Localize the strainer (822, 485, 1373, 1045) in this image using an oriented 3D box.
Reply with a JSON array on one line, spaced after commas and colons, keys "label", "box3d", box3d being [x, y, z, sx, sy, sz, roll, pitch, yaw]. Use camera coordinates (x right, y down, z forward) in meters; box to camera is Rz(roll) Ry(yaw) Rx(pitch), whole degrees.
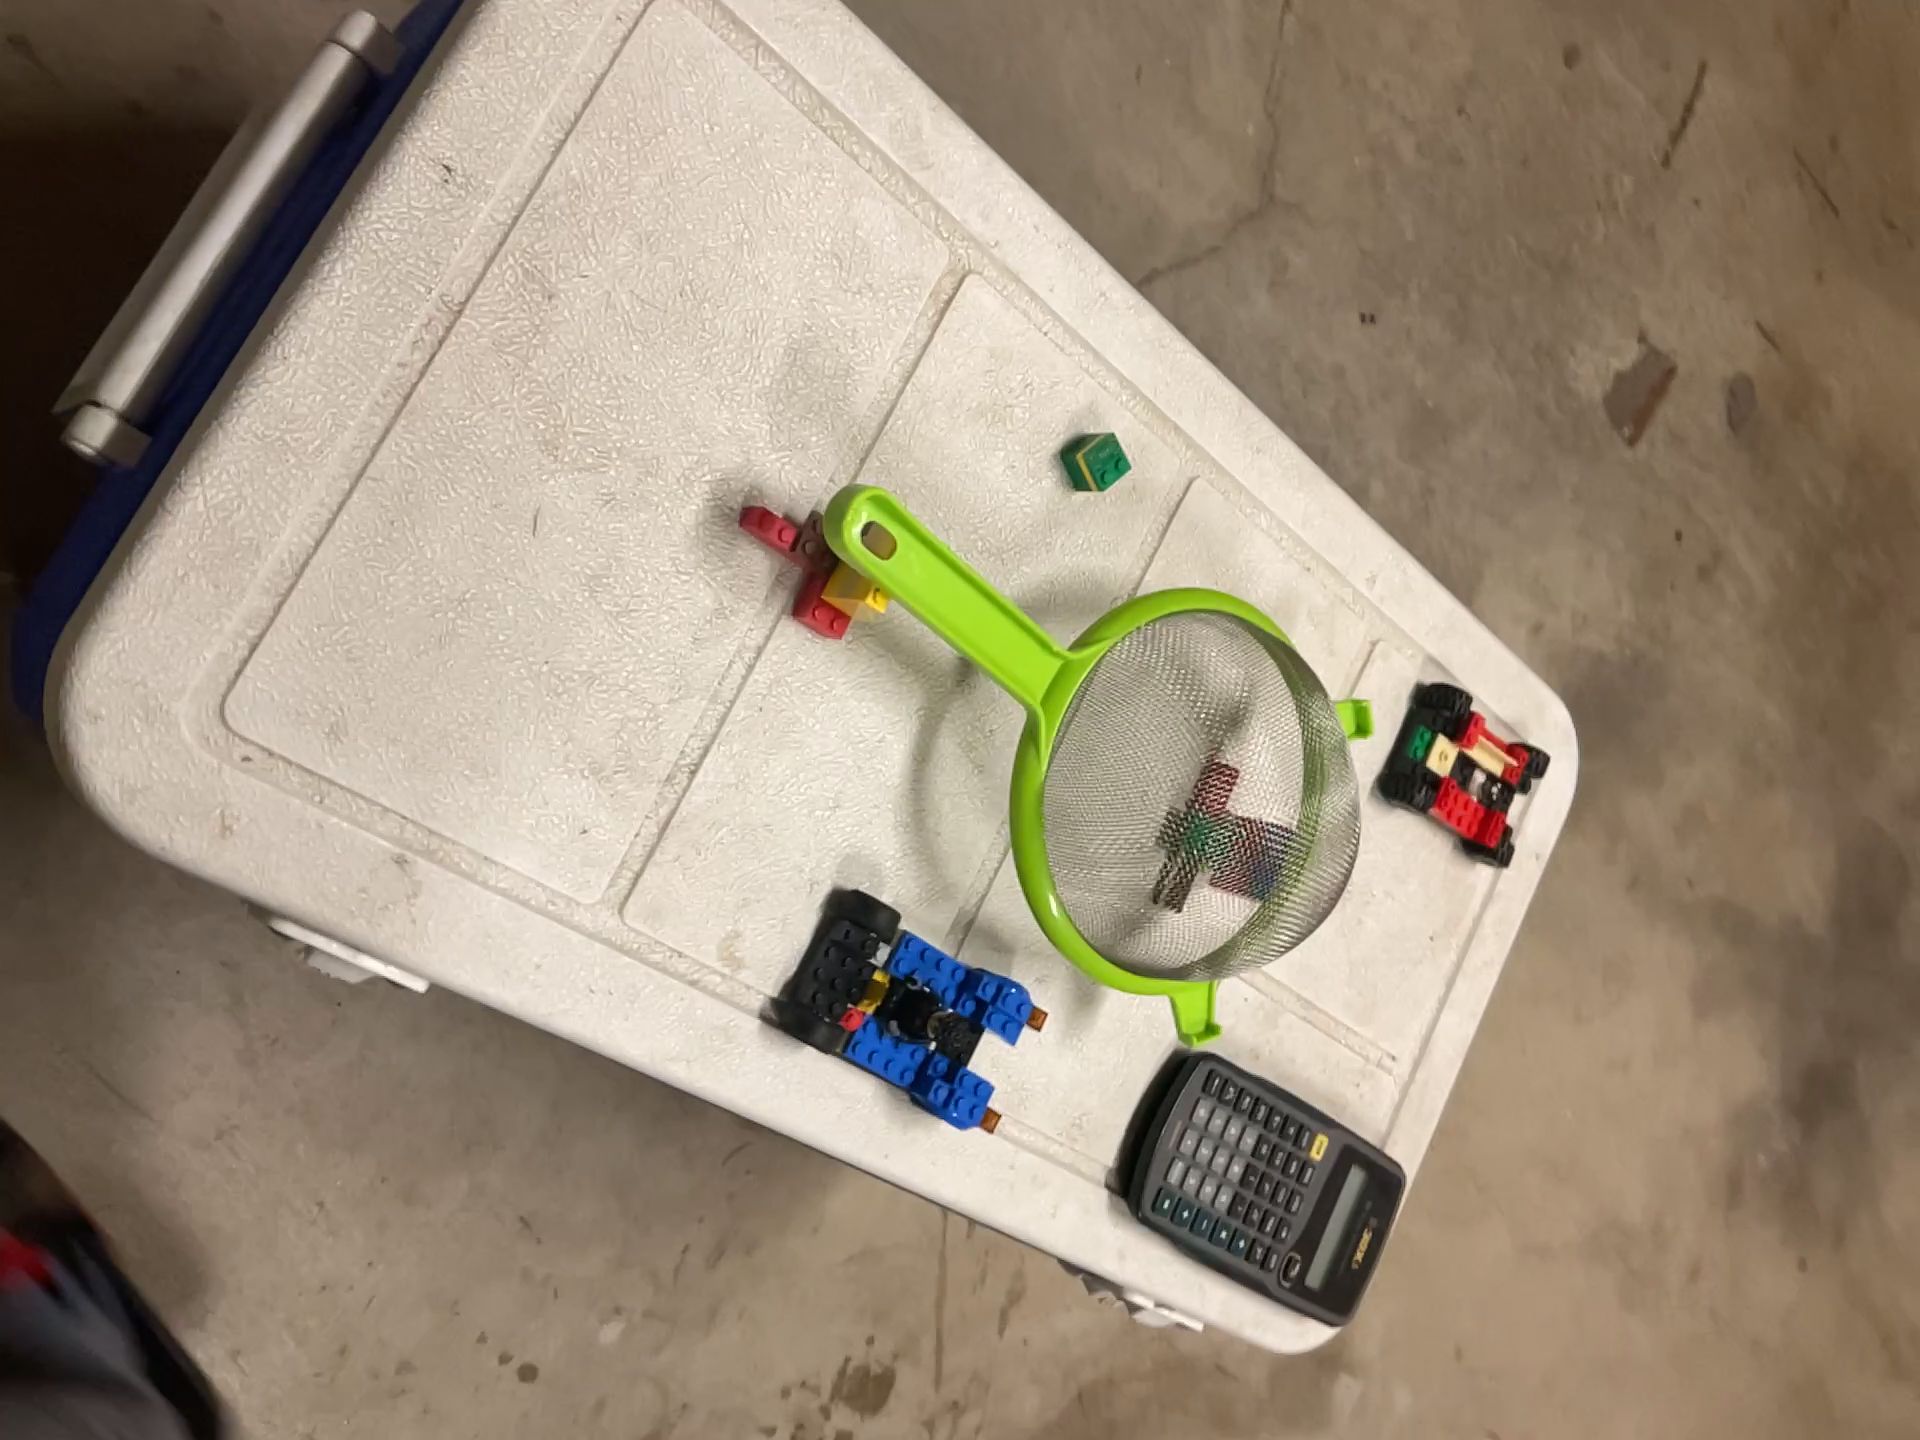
[{"label": "strainer", "box3d": [0.060, 0.003, 0.537, 0.256, 0.069, 0.151, 38, 76, -33]}]
